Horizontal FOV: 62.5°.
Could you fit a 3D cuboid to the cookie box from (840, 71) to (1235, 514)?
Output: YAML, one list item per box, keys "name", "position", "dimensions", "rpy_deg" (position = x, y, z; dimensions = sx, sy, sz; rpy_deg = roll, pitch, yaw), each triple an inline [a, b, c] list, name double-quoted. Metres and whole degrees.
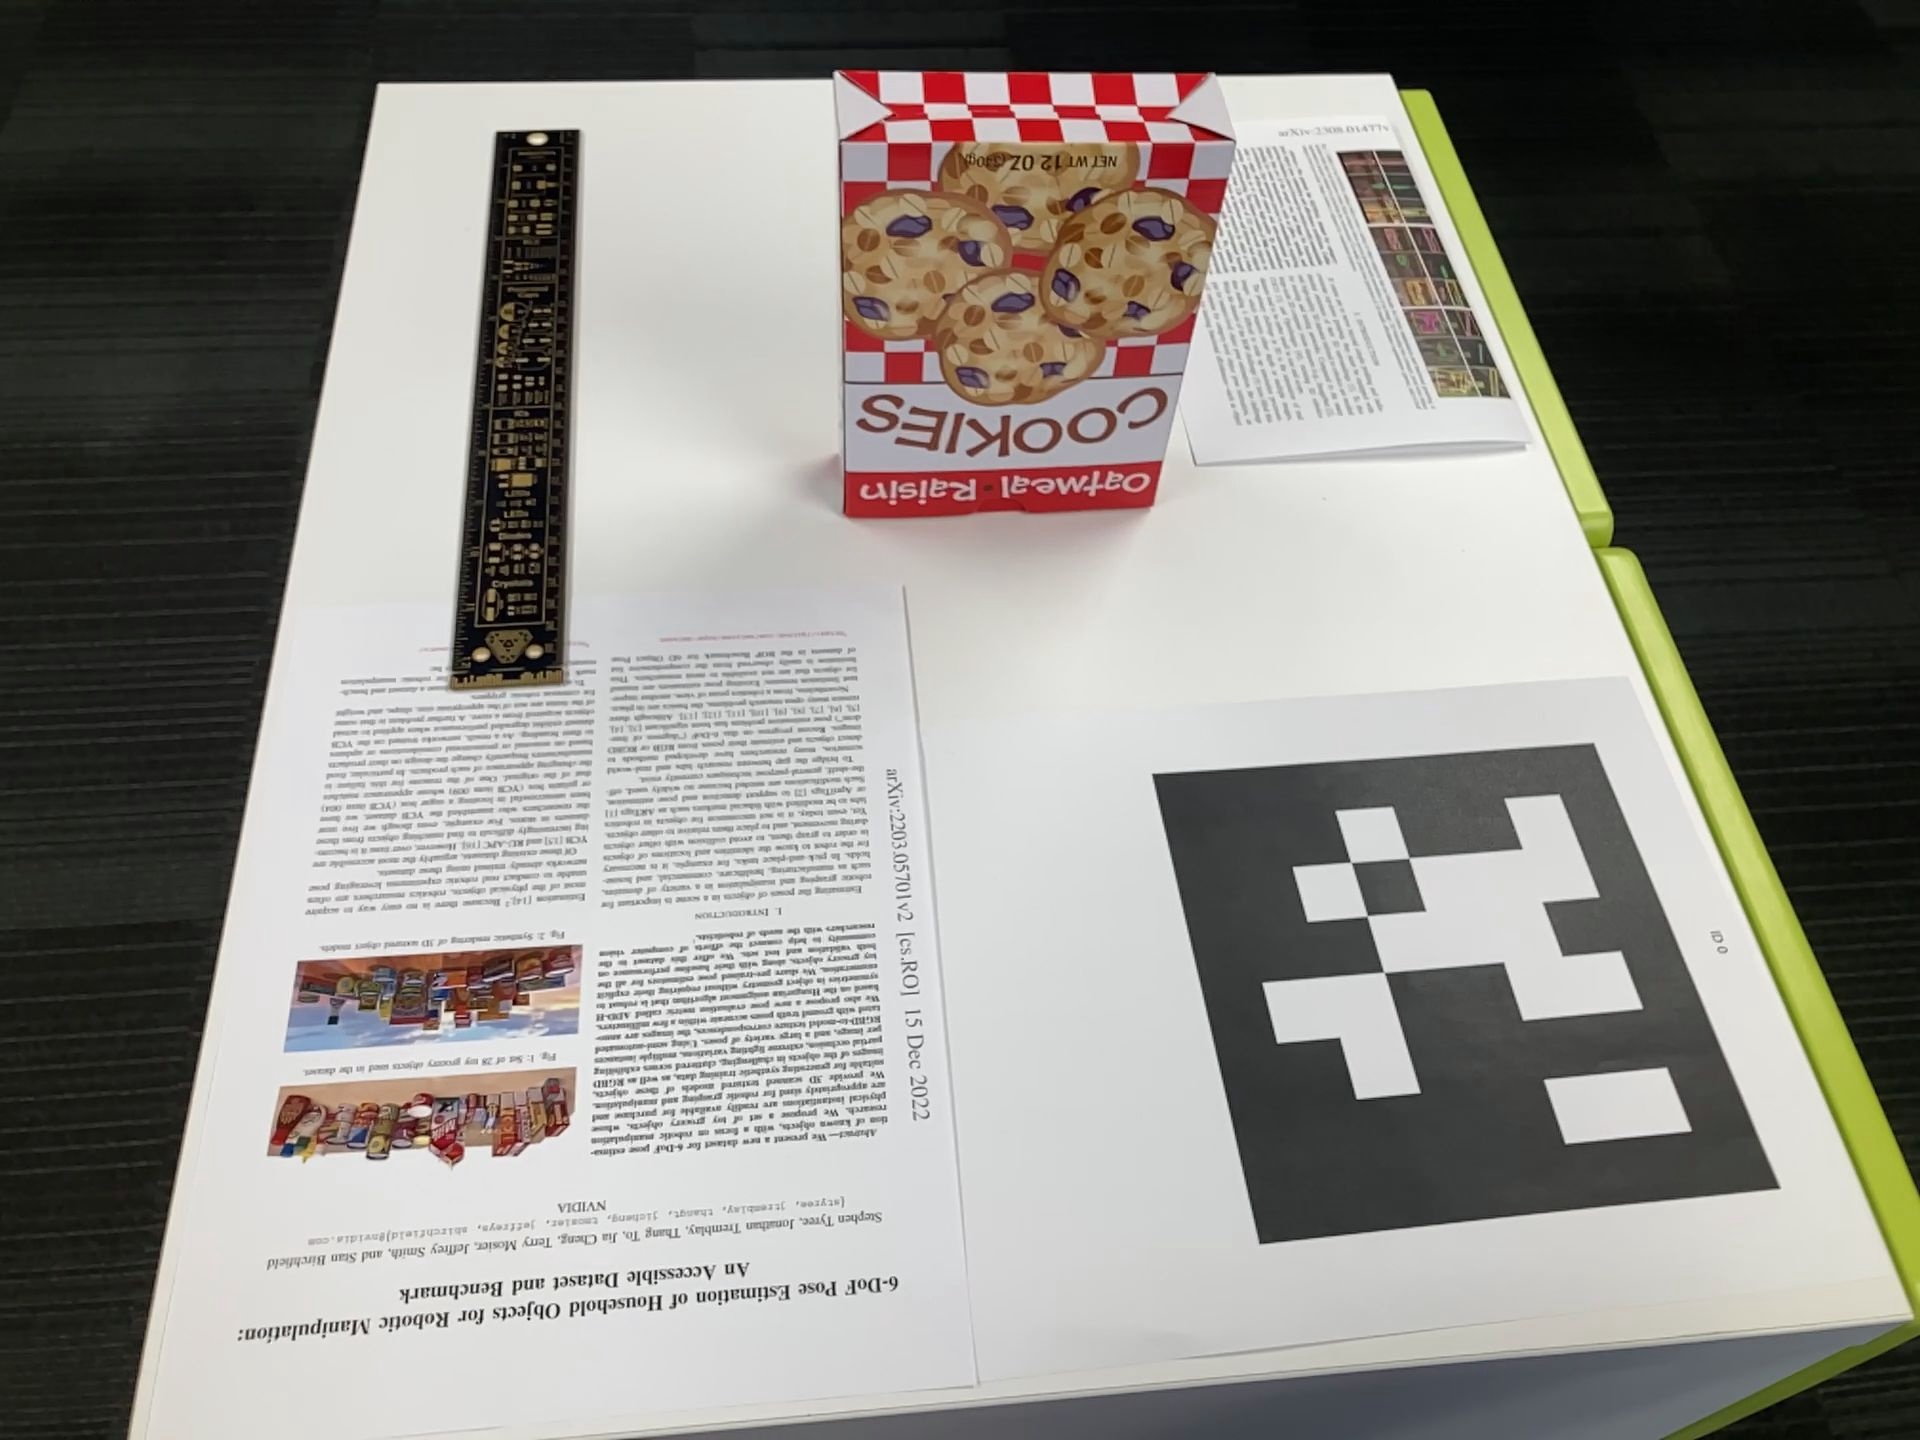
- name: "cookie box"
  position: [0.019, -0.143, 0.564]
  dimensions: [0.123, 0.167, 0.040]
  rpy_deg: [-2, 55, -6]
